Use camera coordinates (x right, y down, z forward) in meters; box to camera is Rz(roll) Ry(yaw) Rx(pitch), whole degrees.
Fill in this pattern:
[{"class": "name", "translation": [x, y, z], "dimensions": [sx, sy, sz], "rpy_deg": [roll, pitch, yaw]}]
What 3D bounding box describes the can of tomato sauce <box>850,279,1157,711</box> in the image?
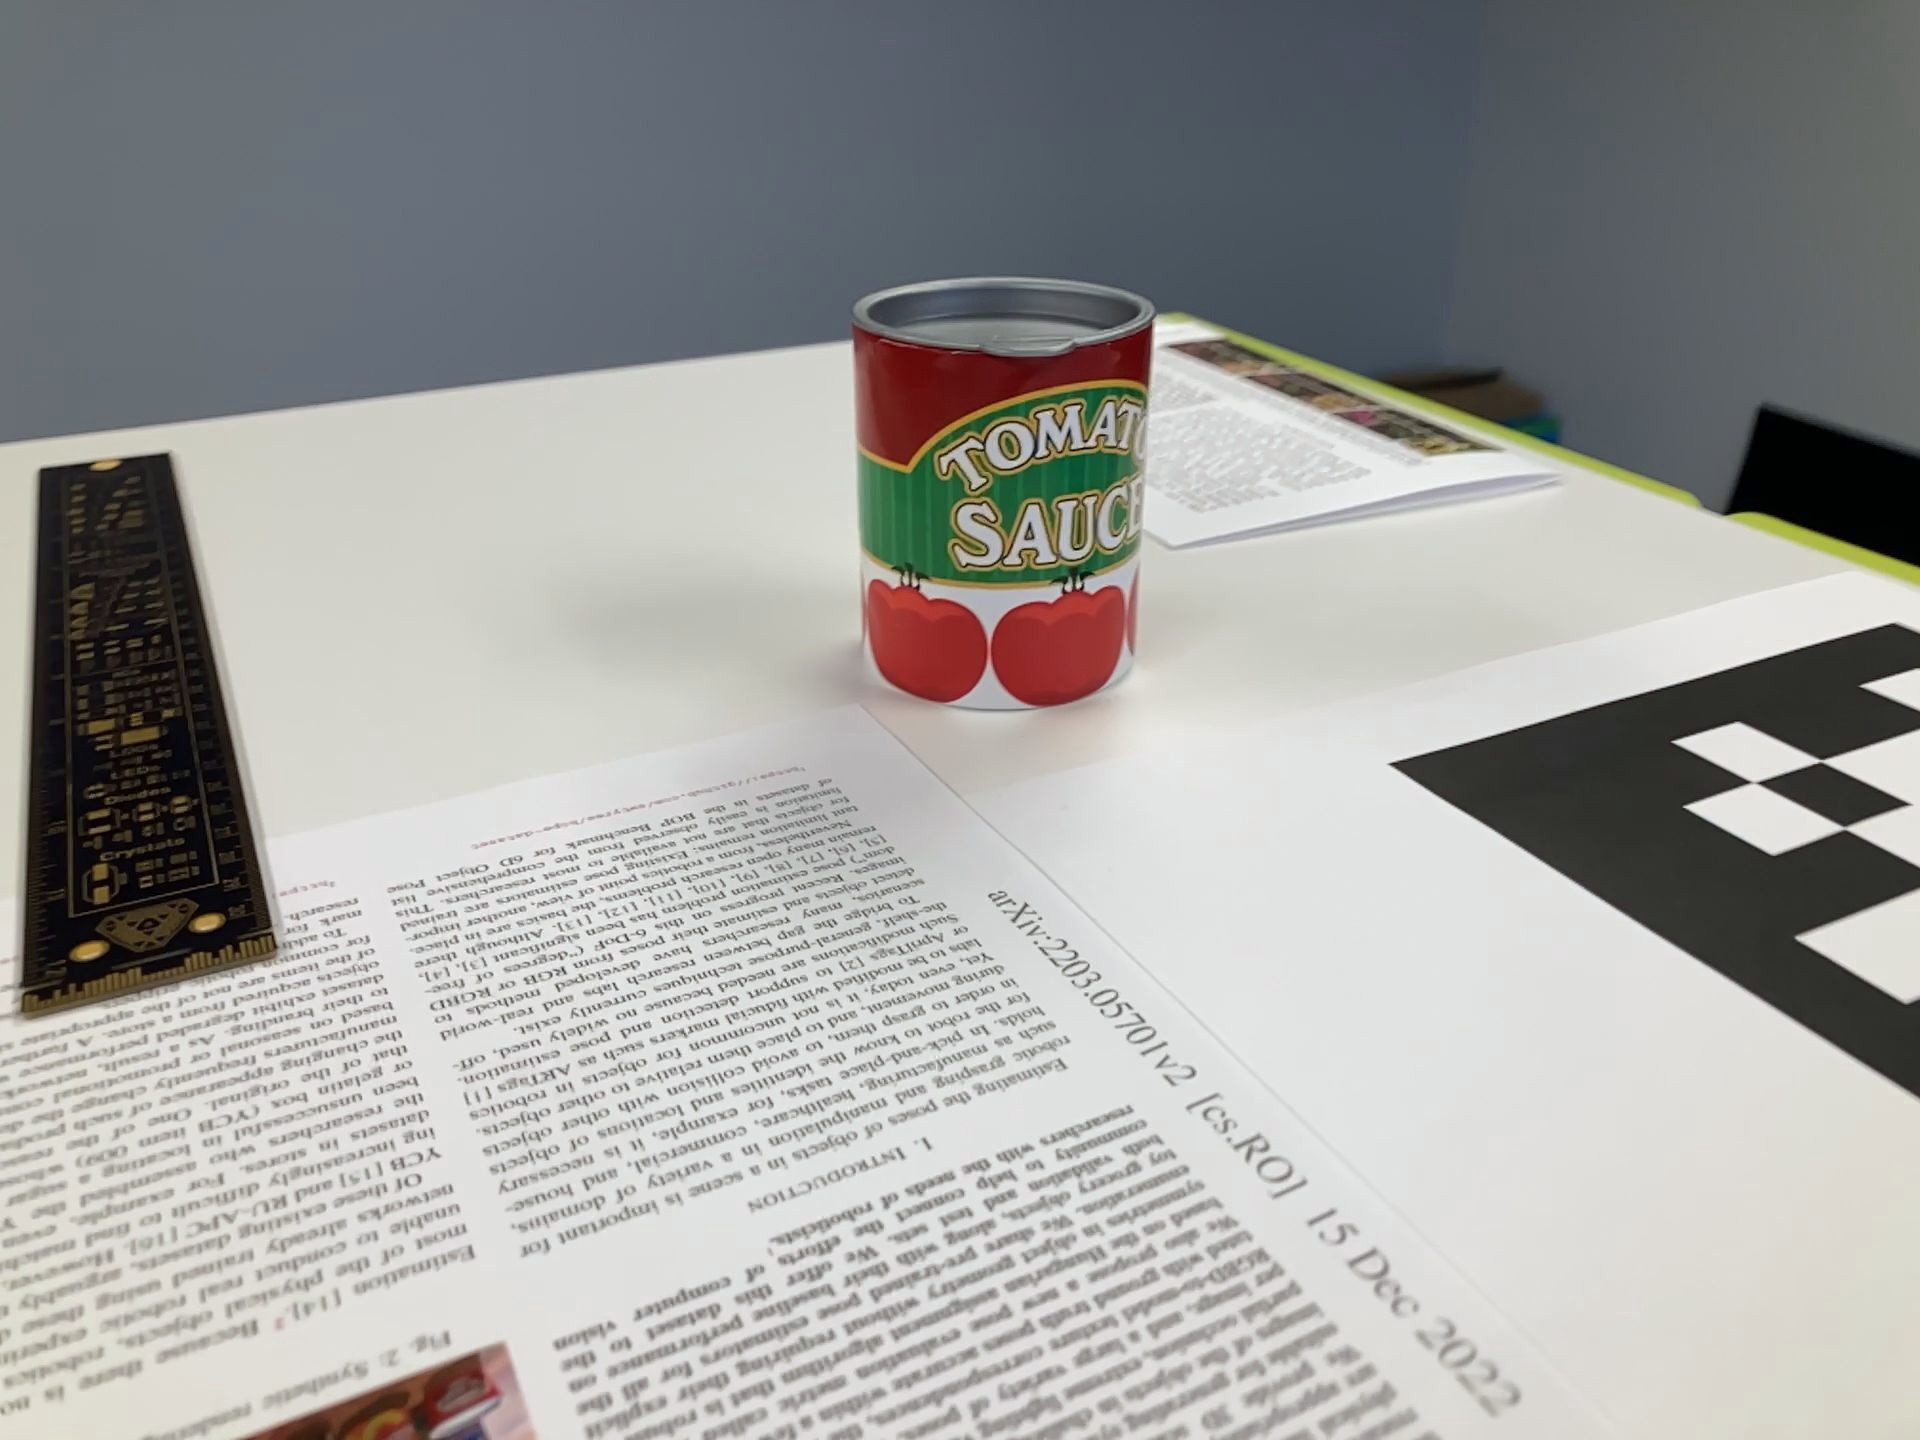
[{"class": "can of tomato sauce", "translation": [0.010, -0.052, 0.362], "dimensions": [0.071, 0.083, 0.071], "rpy_deg": [0, 26, 0]}]
